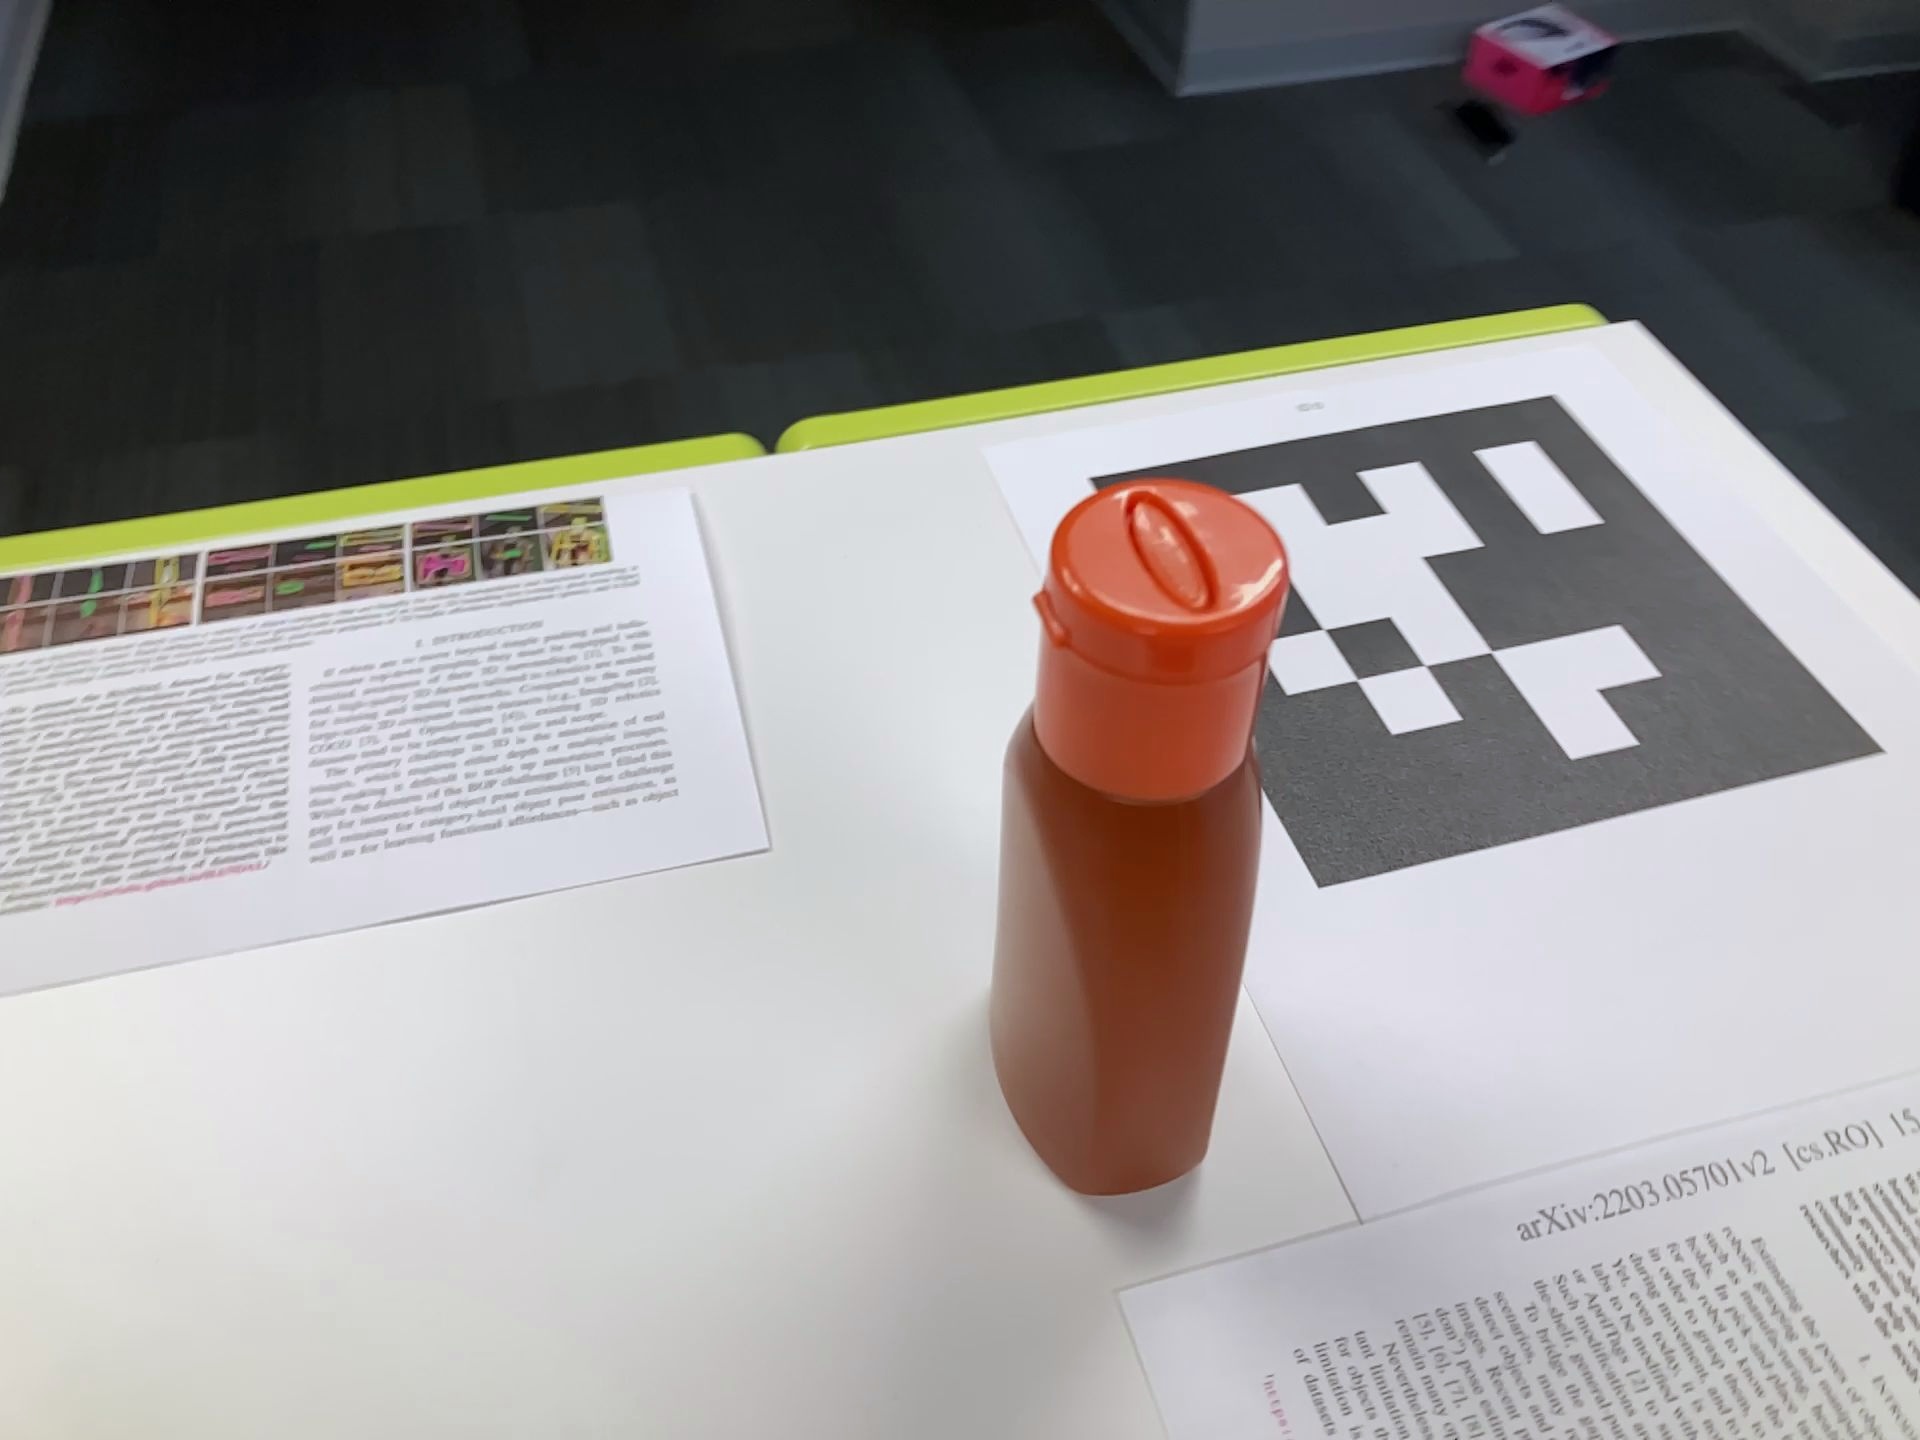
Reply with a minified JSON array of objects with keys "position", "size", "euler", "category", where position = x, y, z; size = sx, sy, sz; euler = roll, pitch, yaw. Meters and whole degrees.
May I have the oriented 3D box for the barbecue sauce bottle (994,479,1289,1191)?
[{"position":[0.031,0.025,0.292],"size":[0.043,0.148,0.065],"euler":[-11,47,-10],"category":"barbecue sauce bottle"}]
